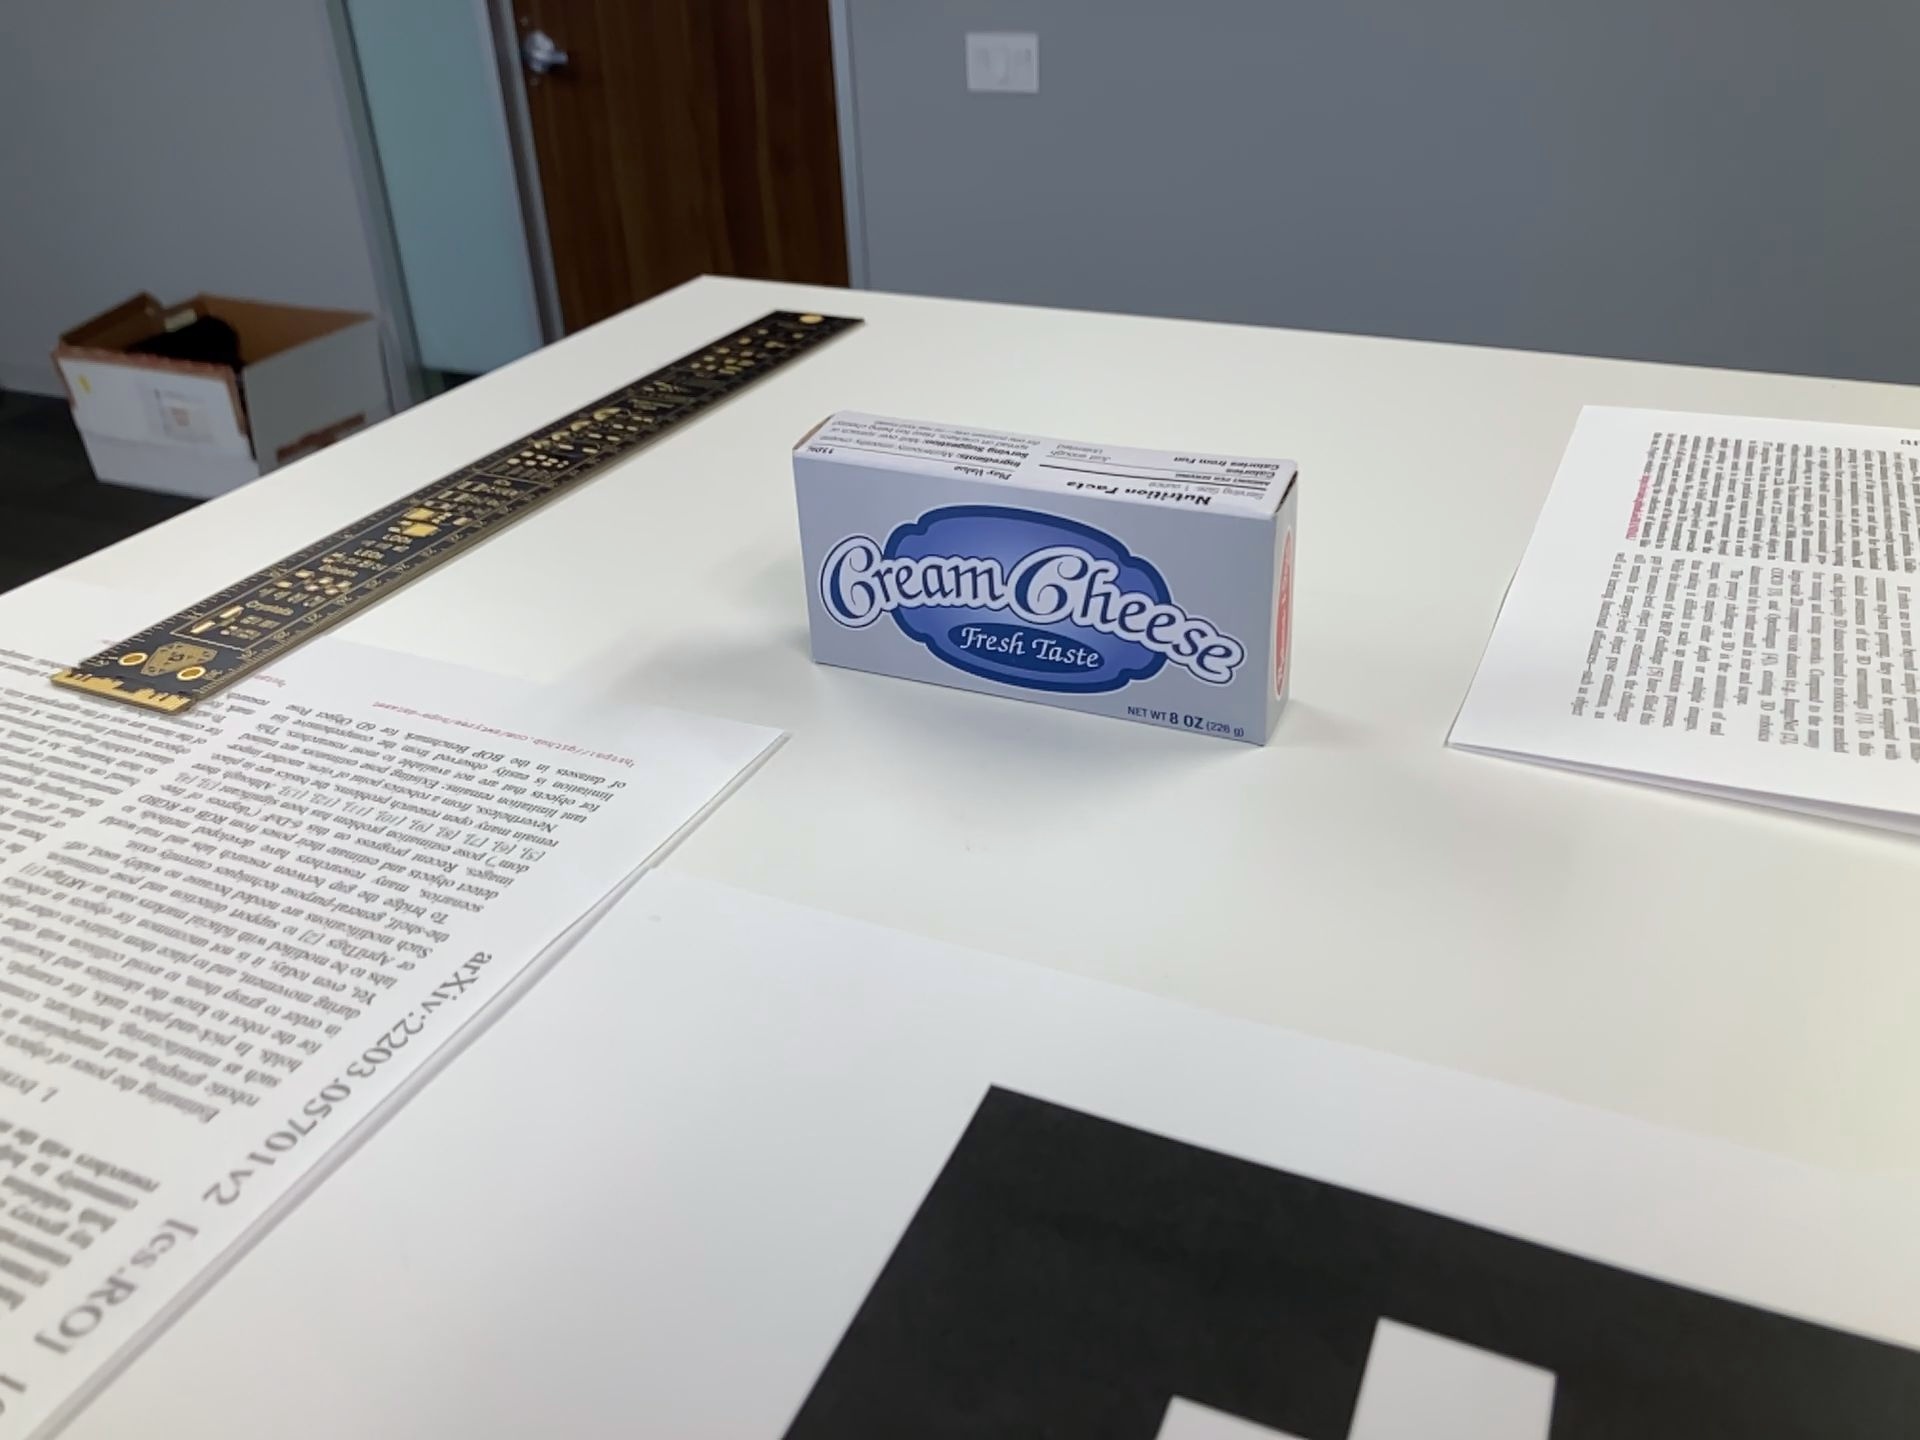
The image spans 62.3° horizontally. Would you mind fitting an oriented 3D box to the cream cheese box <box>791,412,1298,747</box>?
[{"bbox_3d":[0.017,-0.031,0.328,0.104,0.053,0.024,10,34,21],"label":"cream cheese box"}]
